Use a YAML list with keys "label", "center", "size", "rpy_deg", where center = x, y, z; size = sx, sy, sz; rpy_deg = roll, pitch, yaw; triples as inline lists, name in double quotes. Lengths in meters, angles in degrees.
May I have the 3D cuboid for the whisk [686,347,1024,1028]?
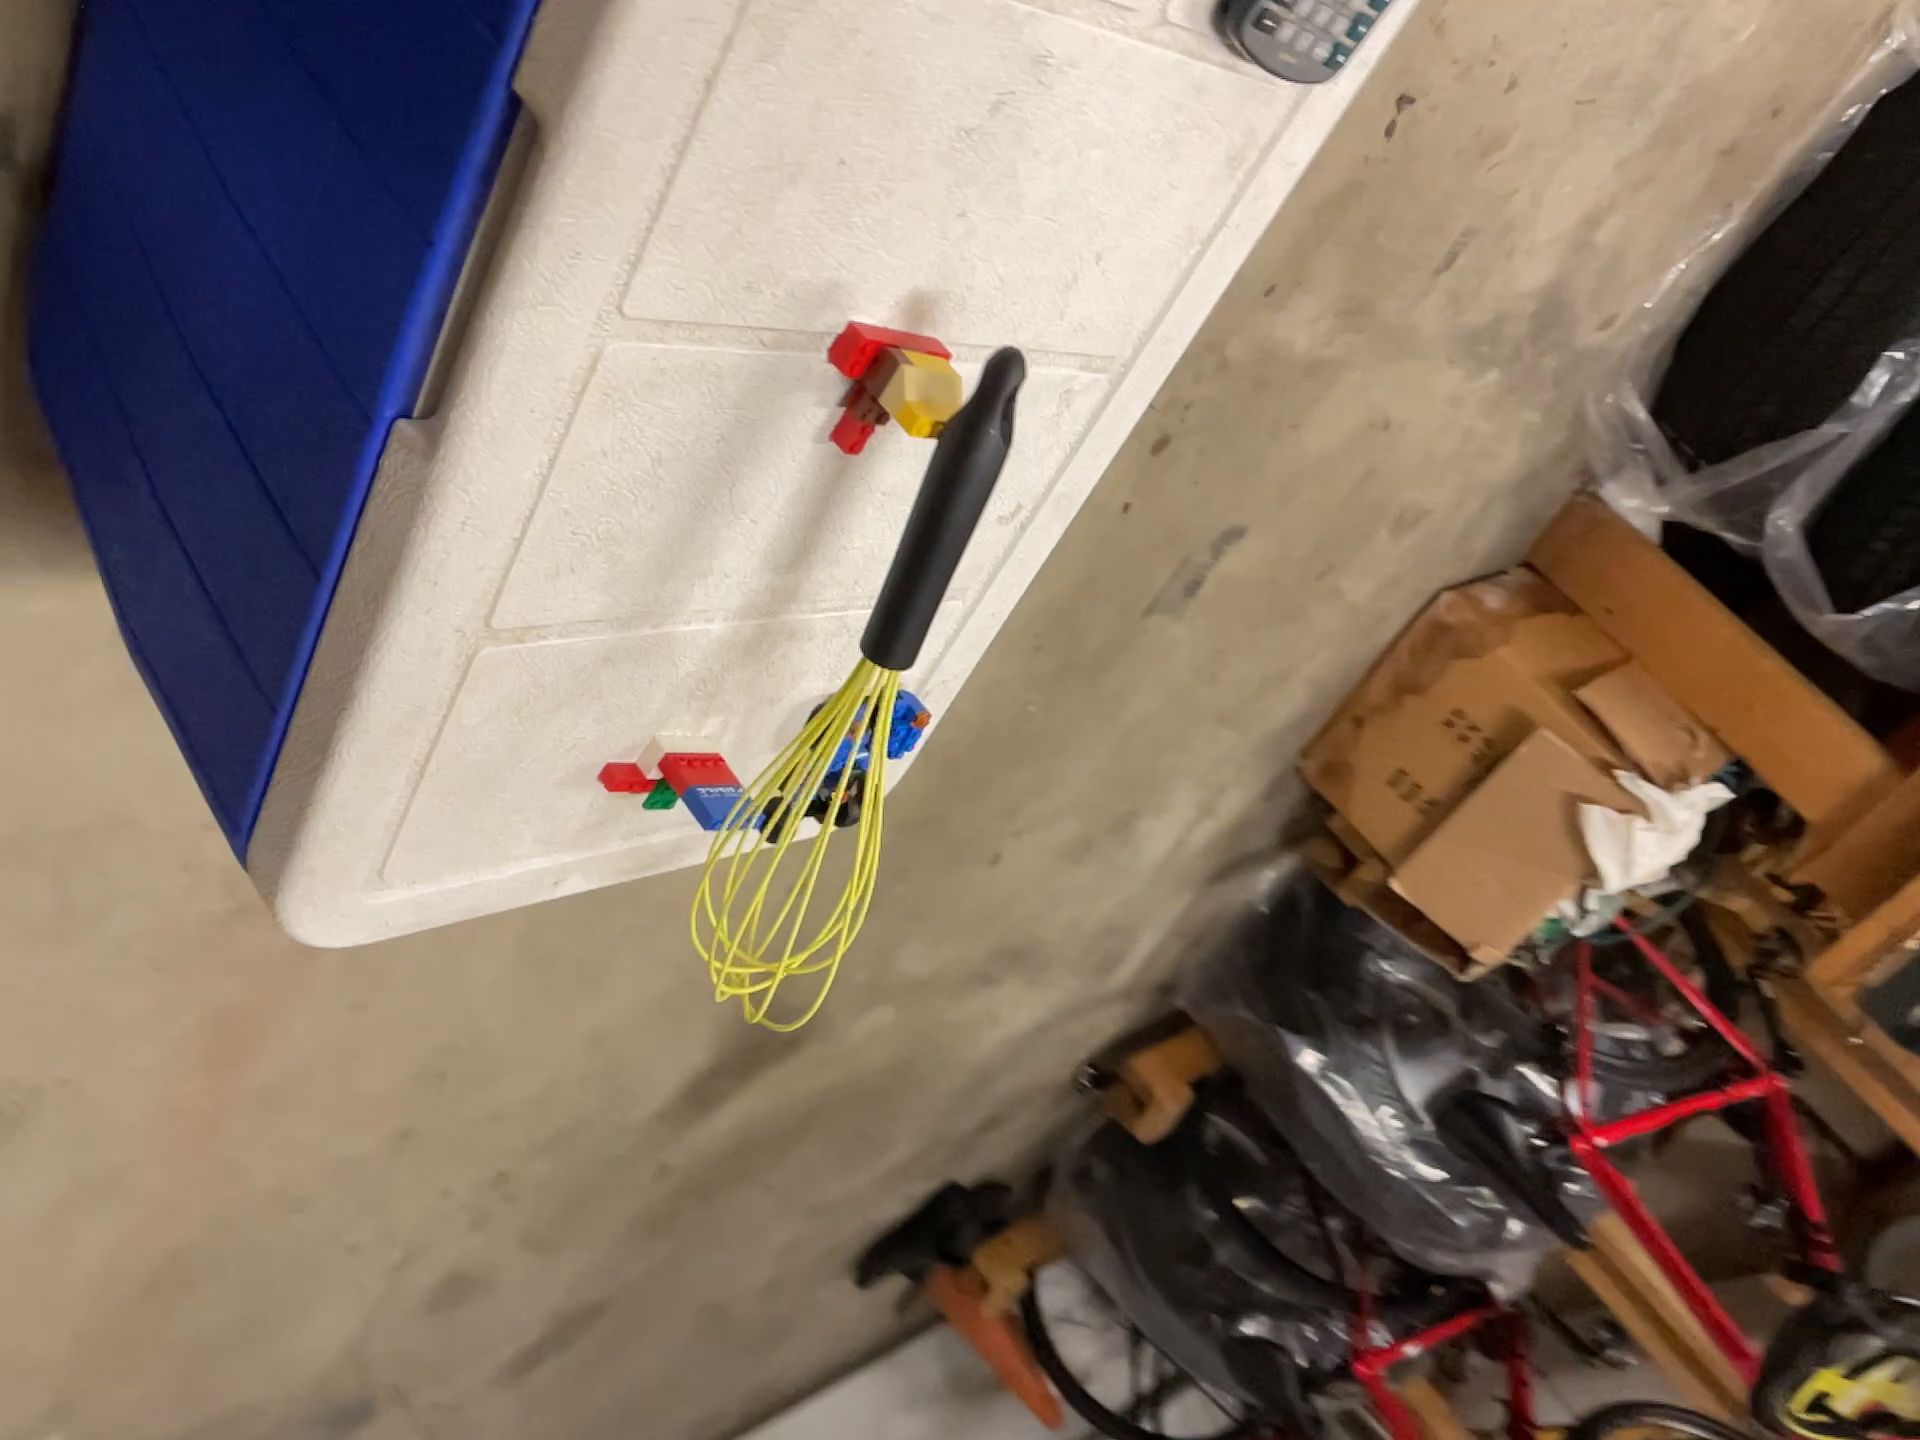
- label: "whisk"
  center: [-0.040, -0.002, 0.609]
  size: [0.080, 0.067, 0.311]
  rpy_deg: [-88, -161, -58]
